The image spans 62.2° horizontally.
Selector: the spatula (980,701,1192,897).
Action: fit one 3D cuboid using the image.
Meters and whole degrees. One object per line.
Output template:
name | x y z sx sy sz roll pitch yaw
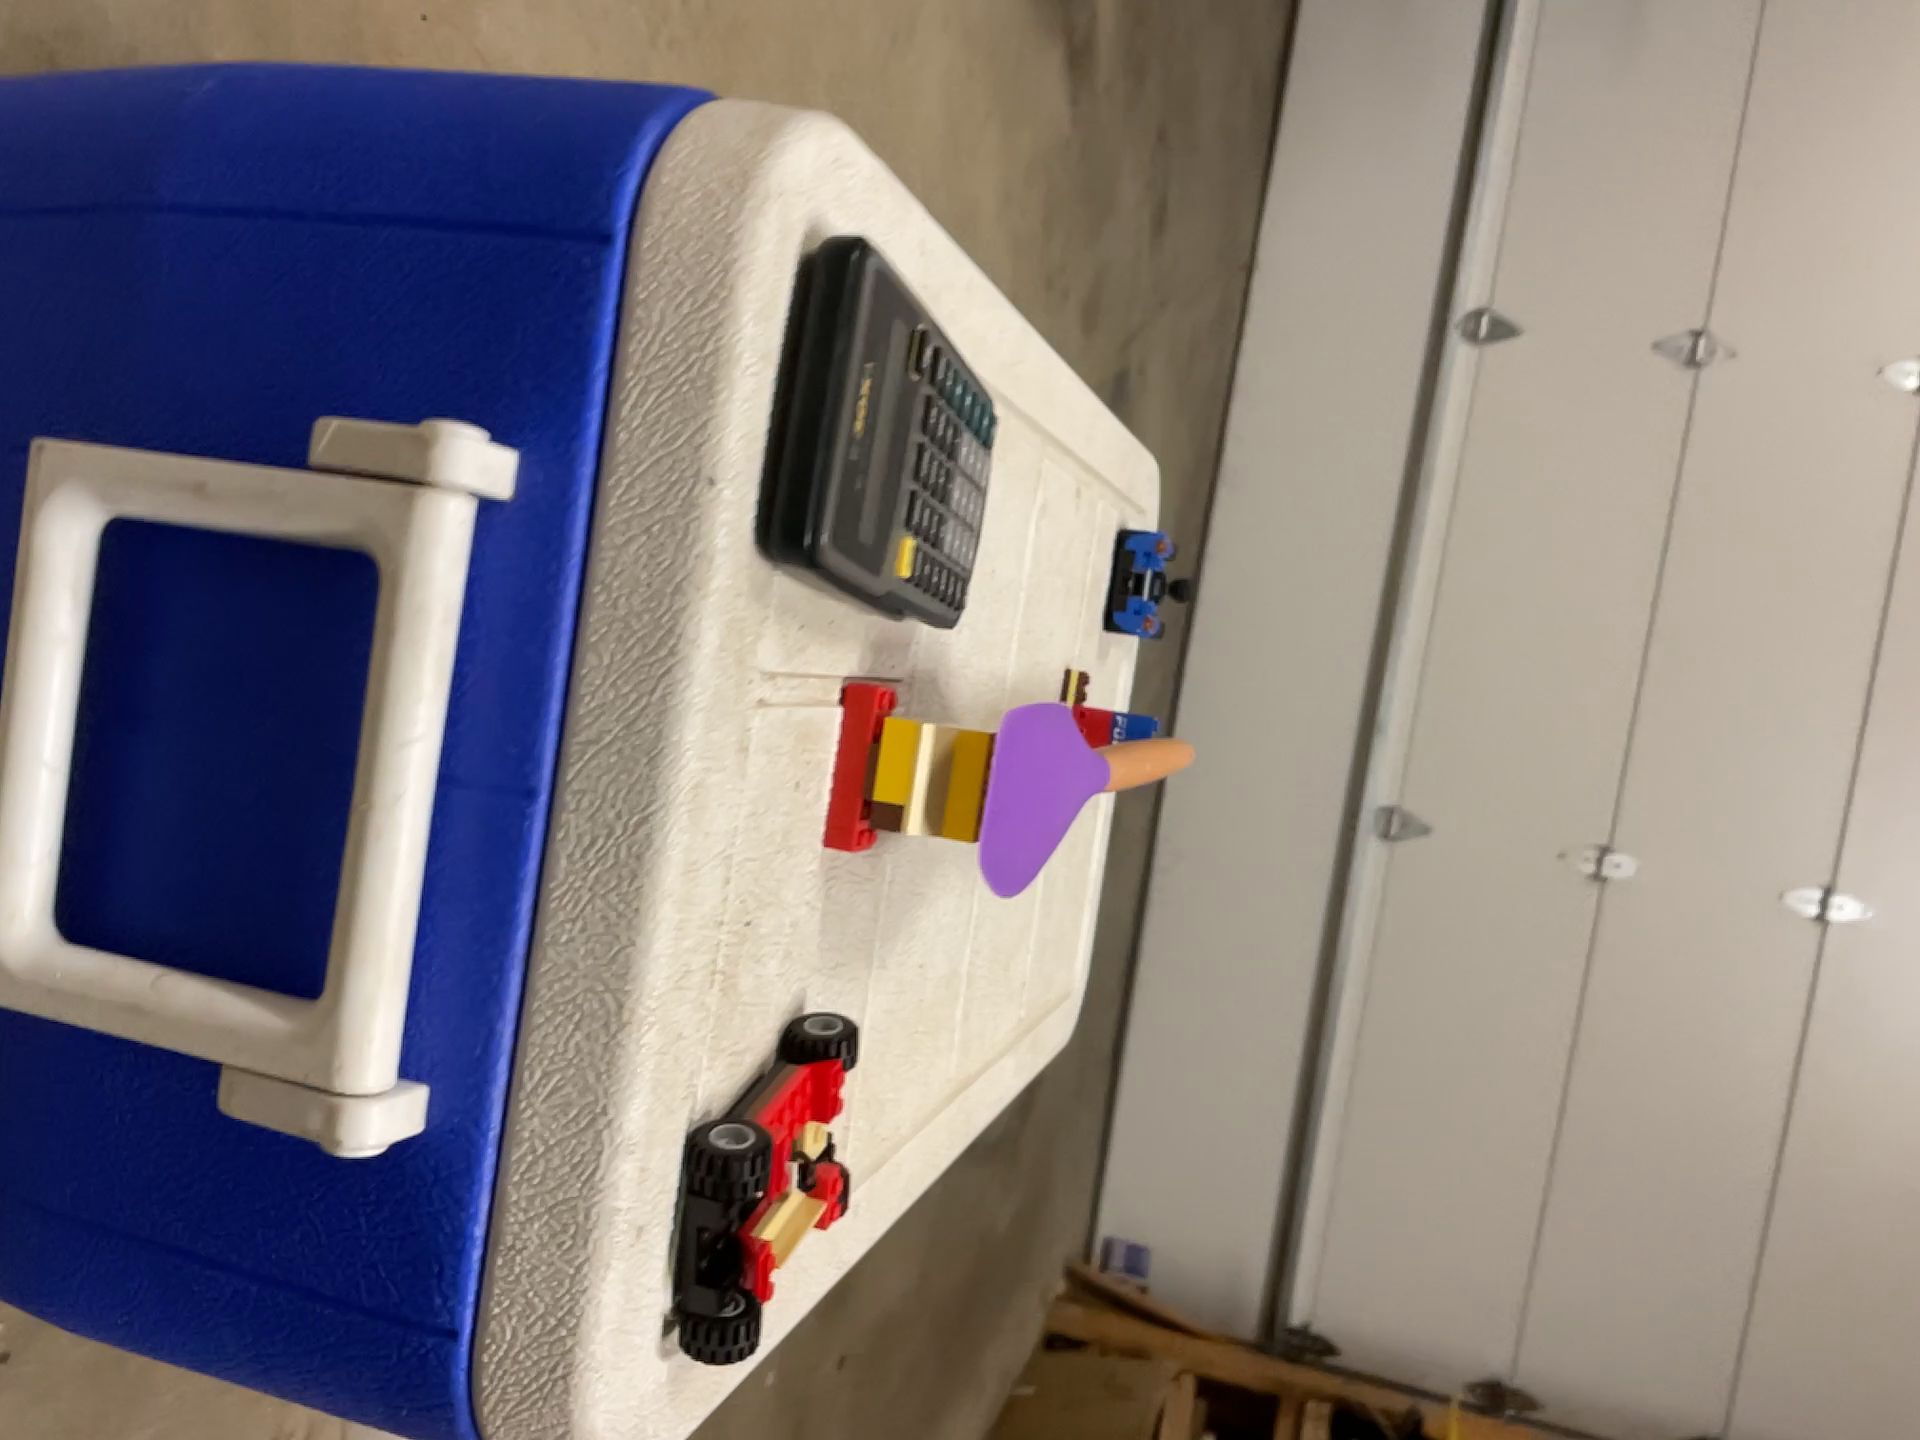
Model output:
spatula | 0.053 0.020 0.588 0.316 0.018 0.060 -6 104 -73
